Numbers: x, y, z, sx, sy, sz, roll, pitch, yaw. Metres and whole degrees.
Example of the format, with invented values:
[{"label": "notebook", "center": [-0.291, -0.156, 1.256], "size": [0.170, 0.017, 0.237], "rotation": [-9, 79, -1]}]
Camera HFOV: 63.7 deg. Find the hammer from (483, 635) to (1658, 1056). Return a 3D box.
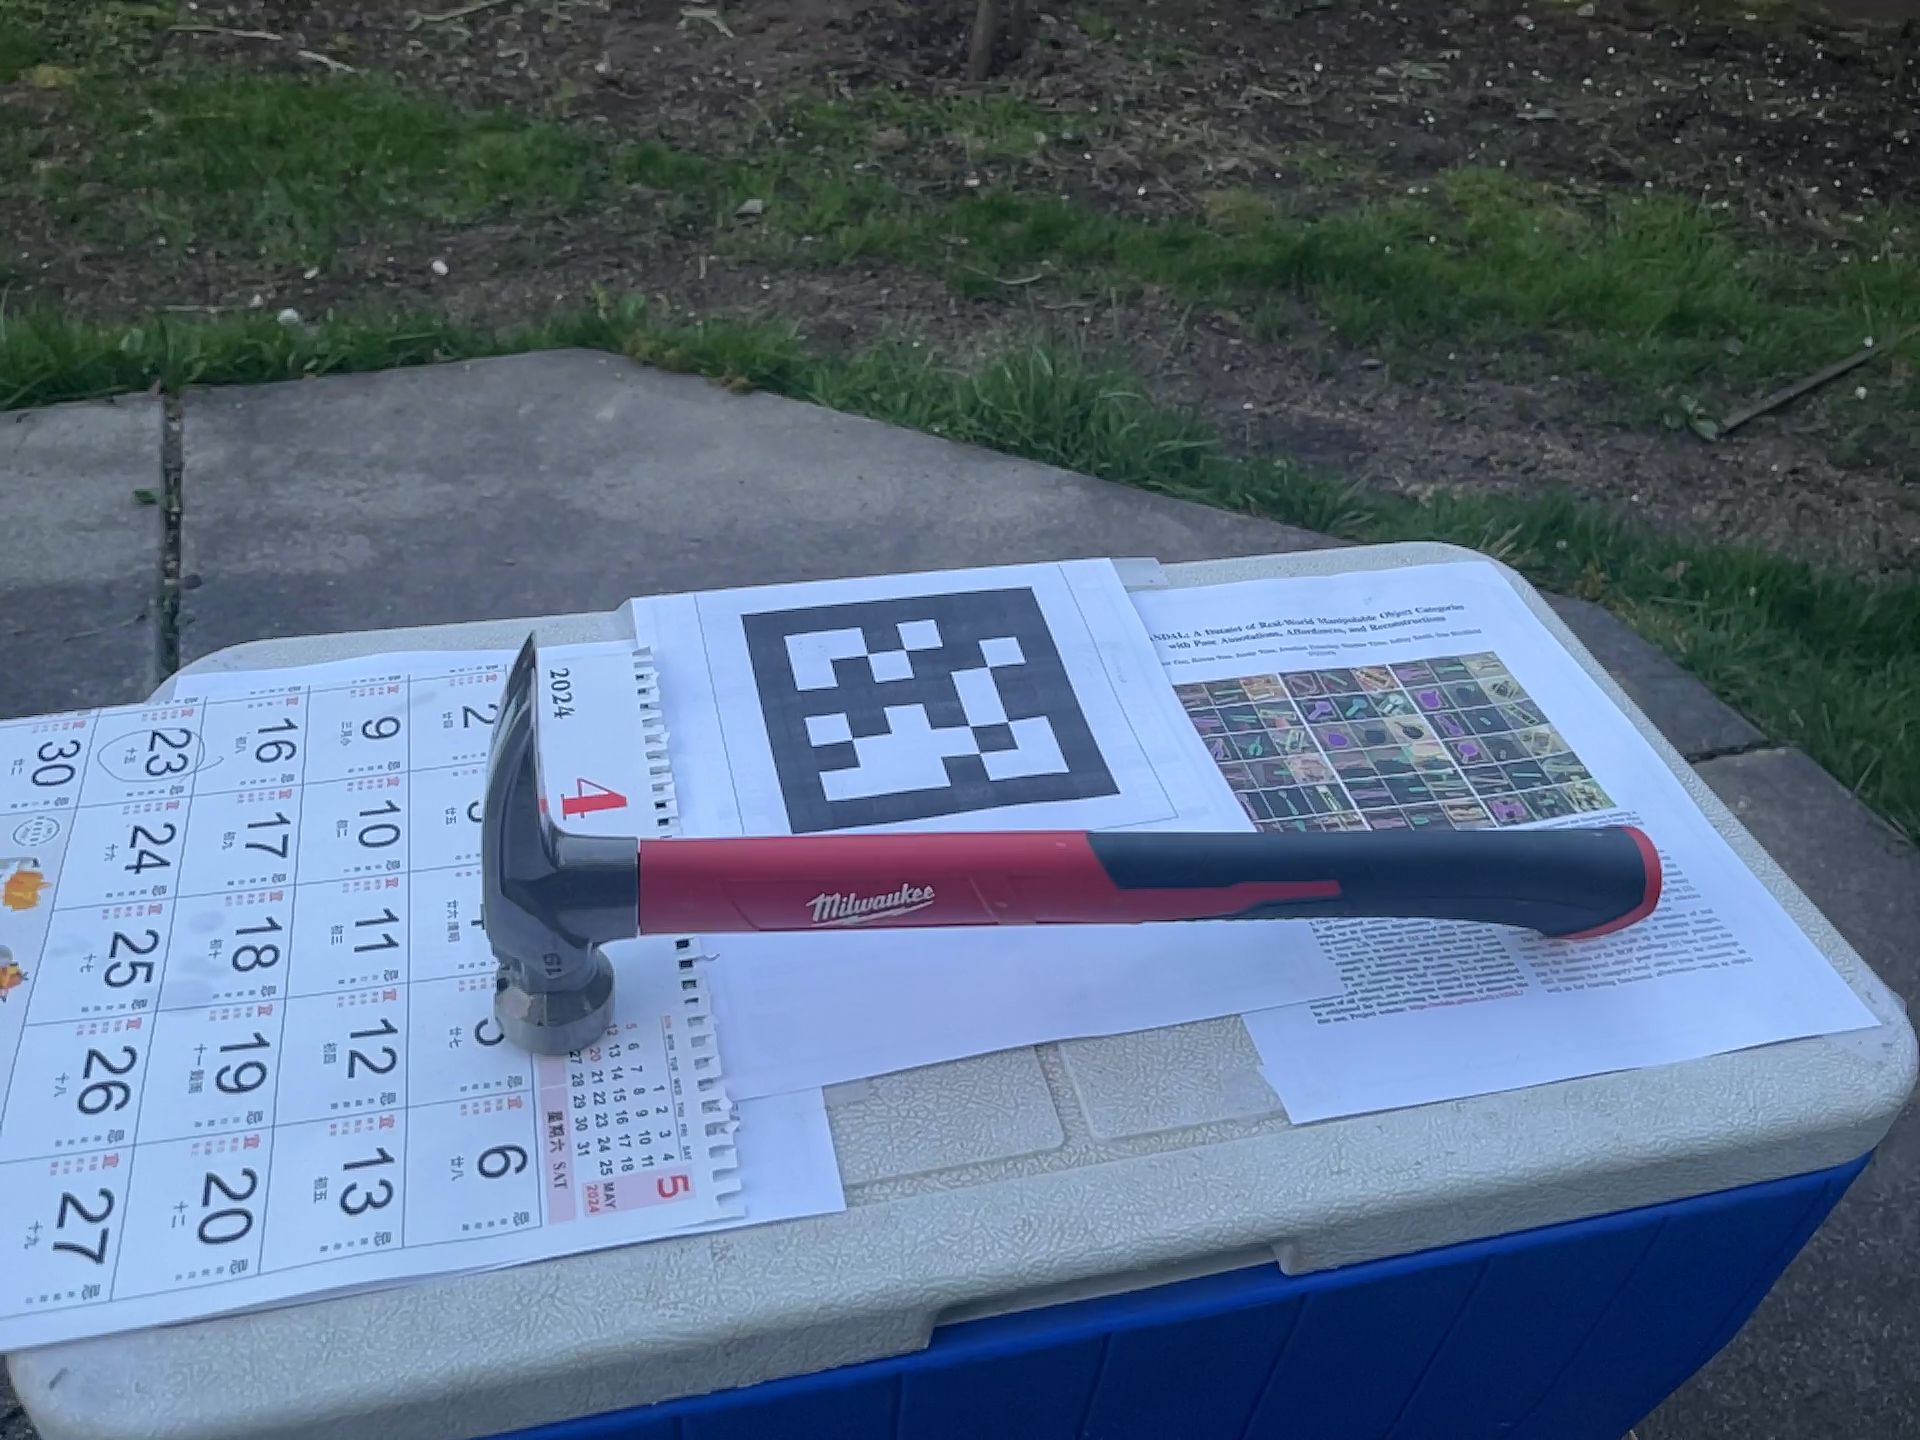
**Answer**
[{"label": "hammer", "center": [0.050, 0.040, 0.492], "size": [0.386, 0.143, 0.038], "rotation": [0, 40, -12]}]
